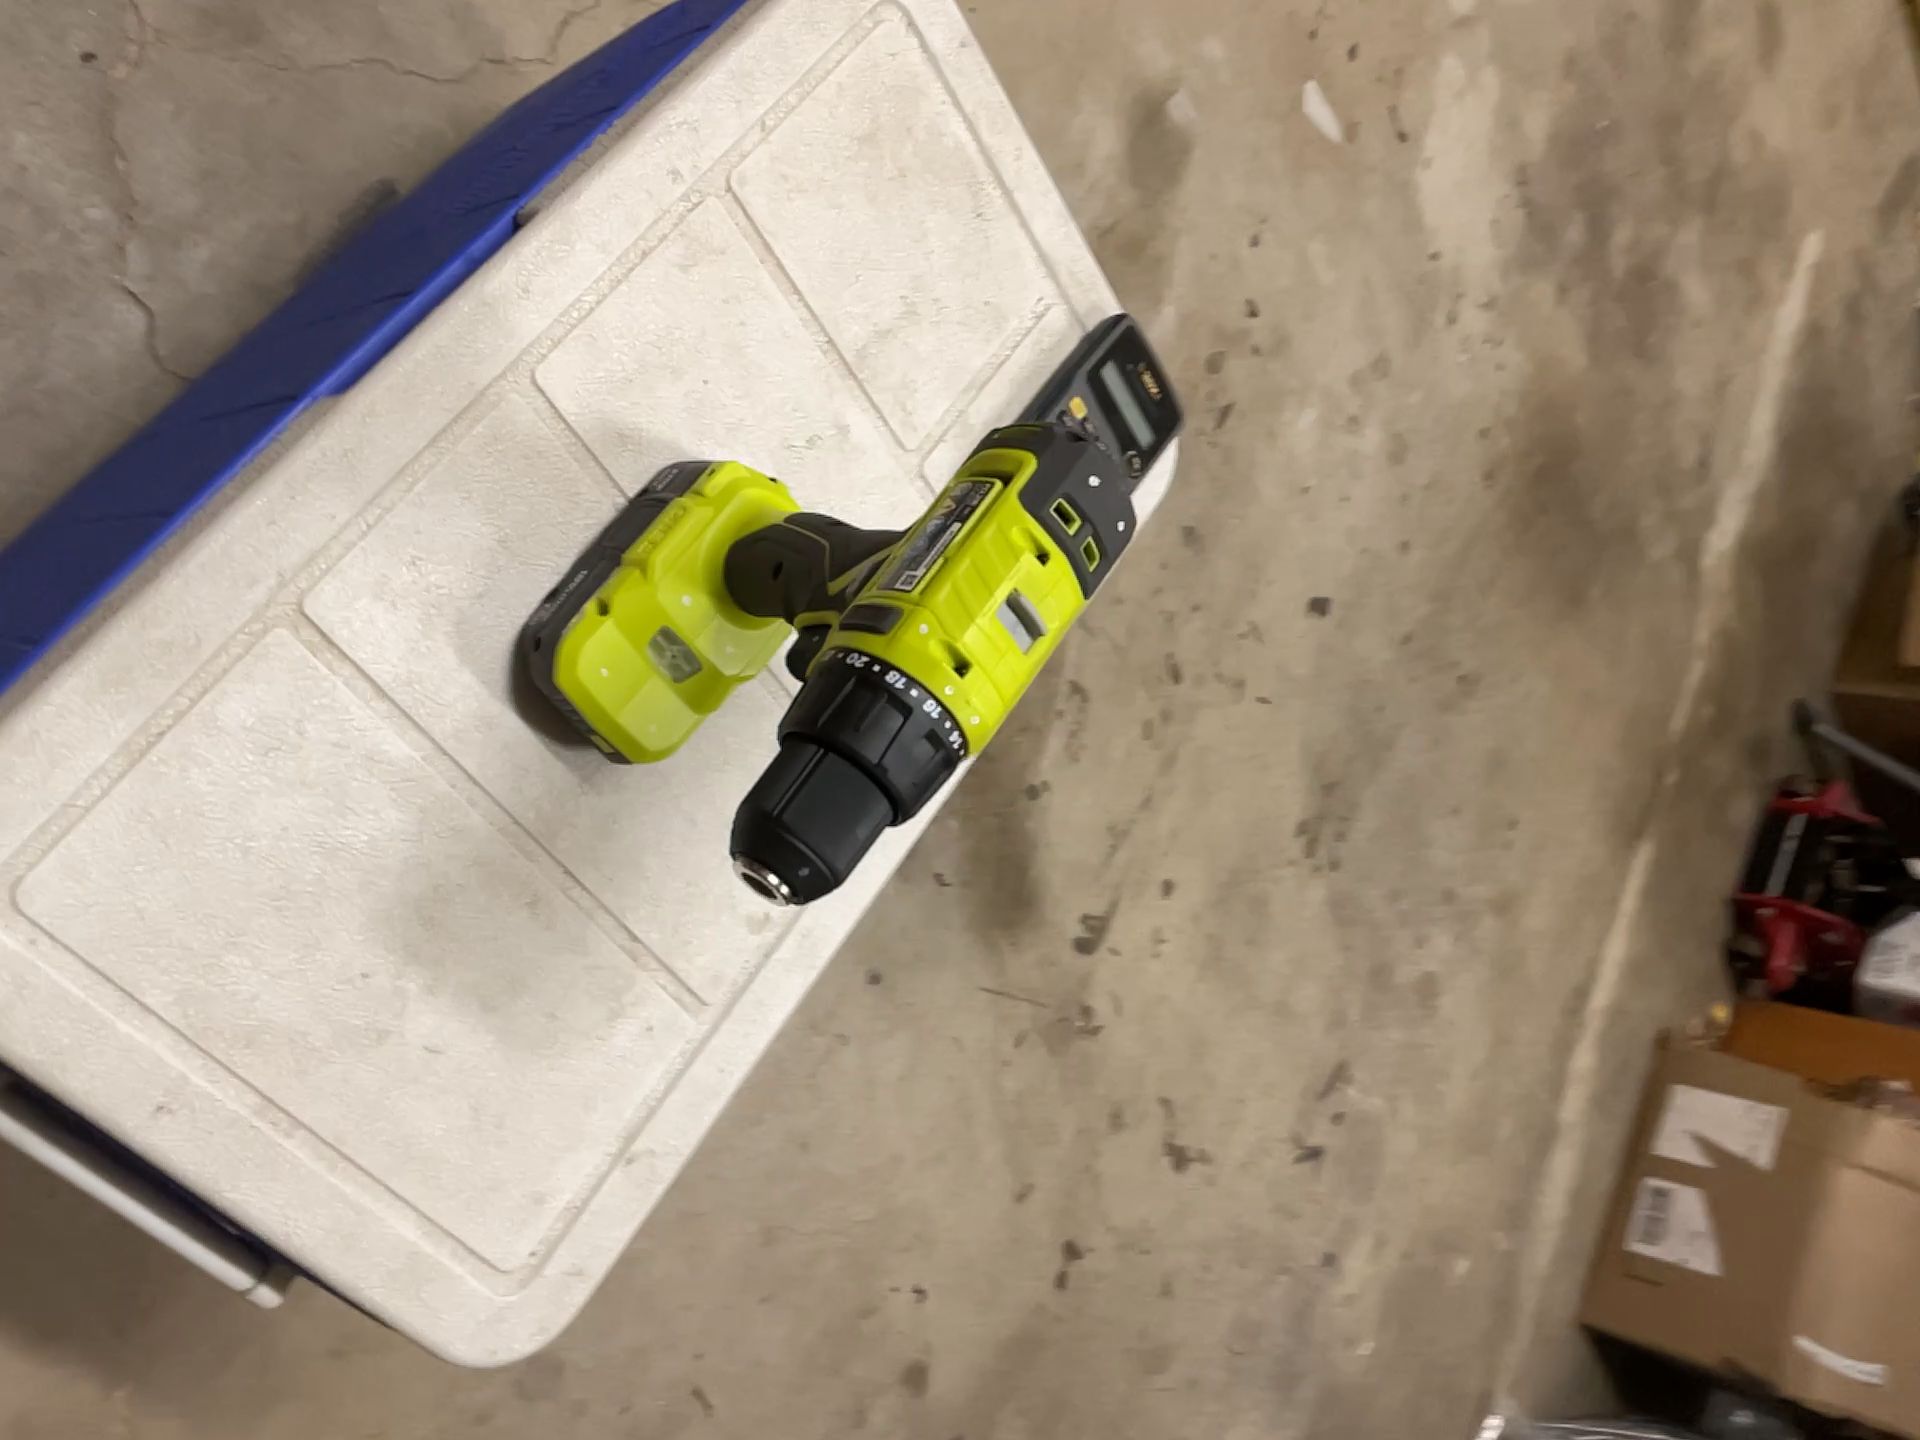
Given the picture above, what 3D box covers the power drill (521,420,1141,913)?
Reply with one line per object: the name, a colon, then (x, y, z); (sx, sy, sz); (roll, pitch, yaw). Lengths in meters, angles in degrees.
power drill: (-0.065, -0.026, 0.590); (0.191, 0.228, 0.080); (-54, 127, -23)
